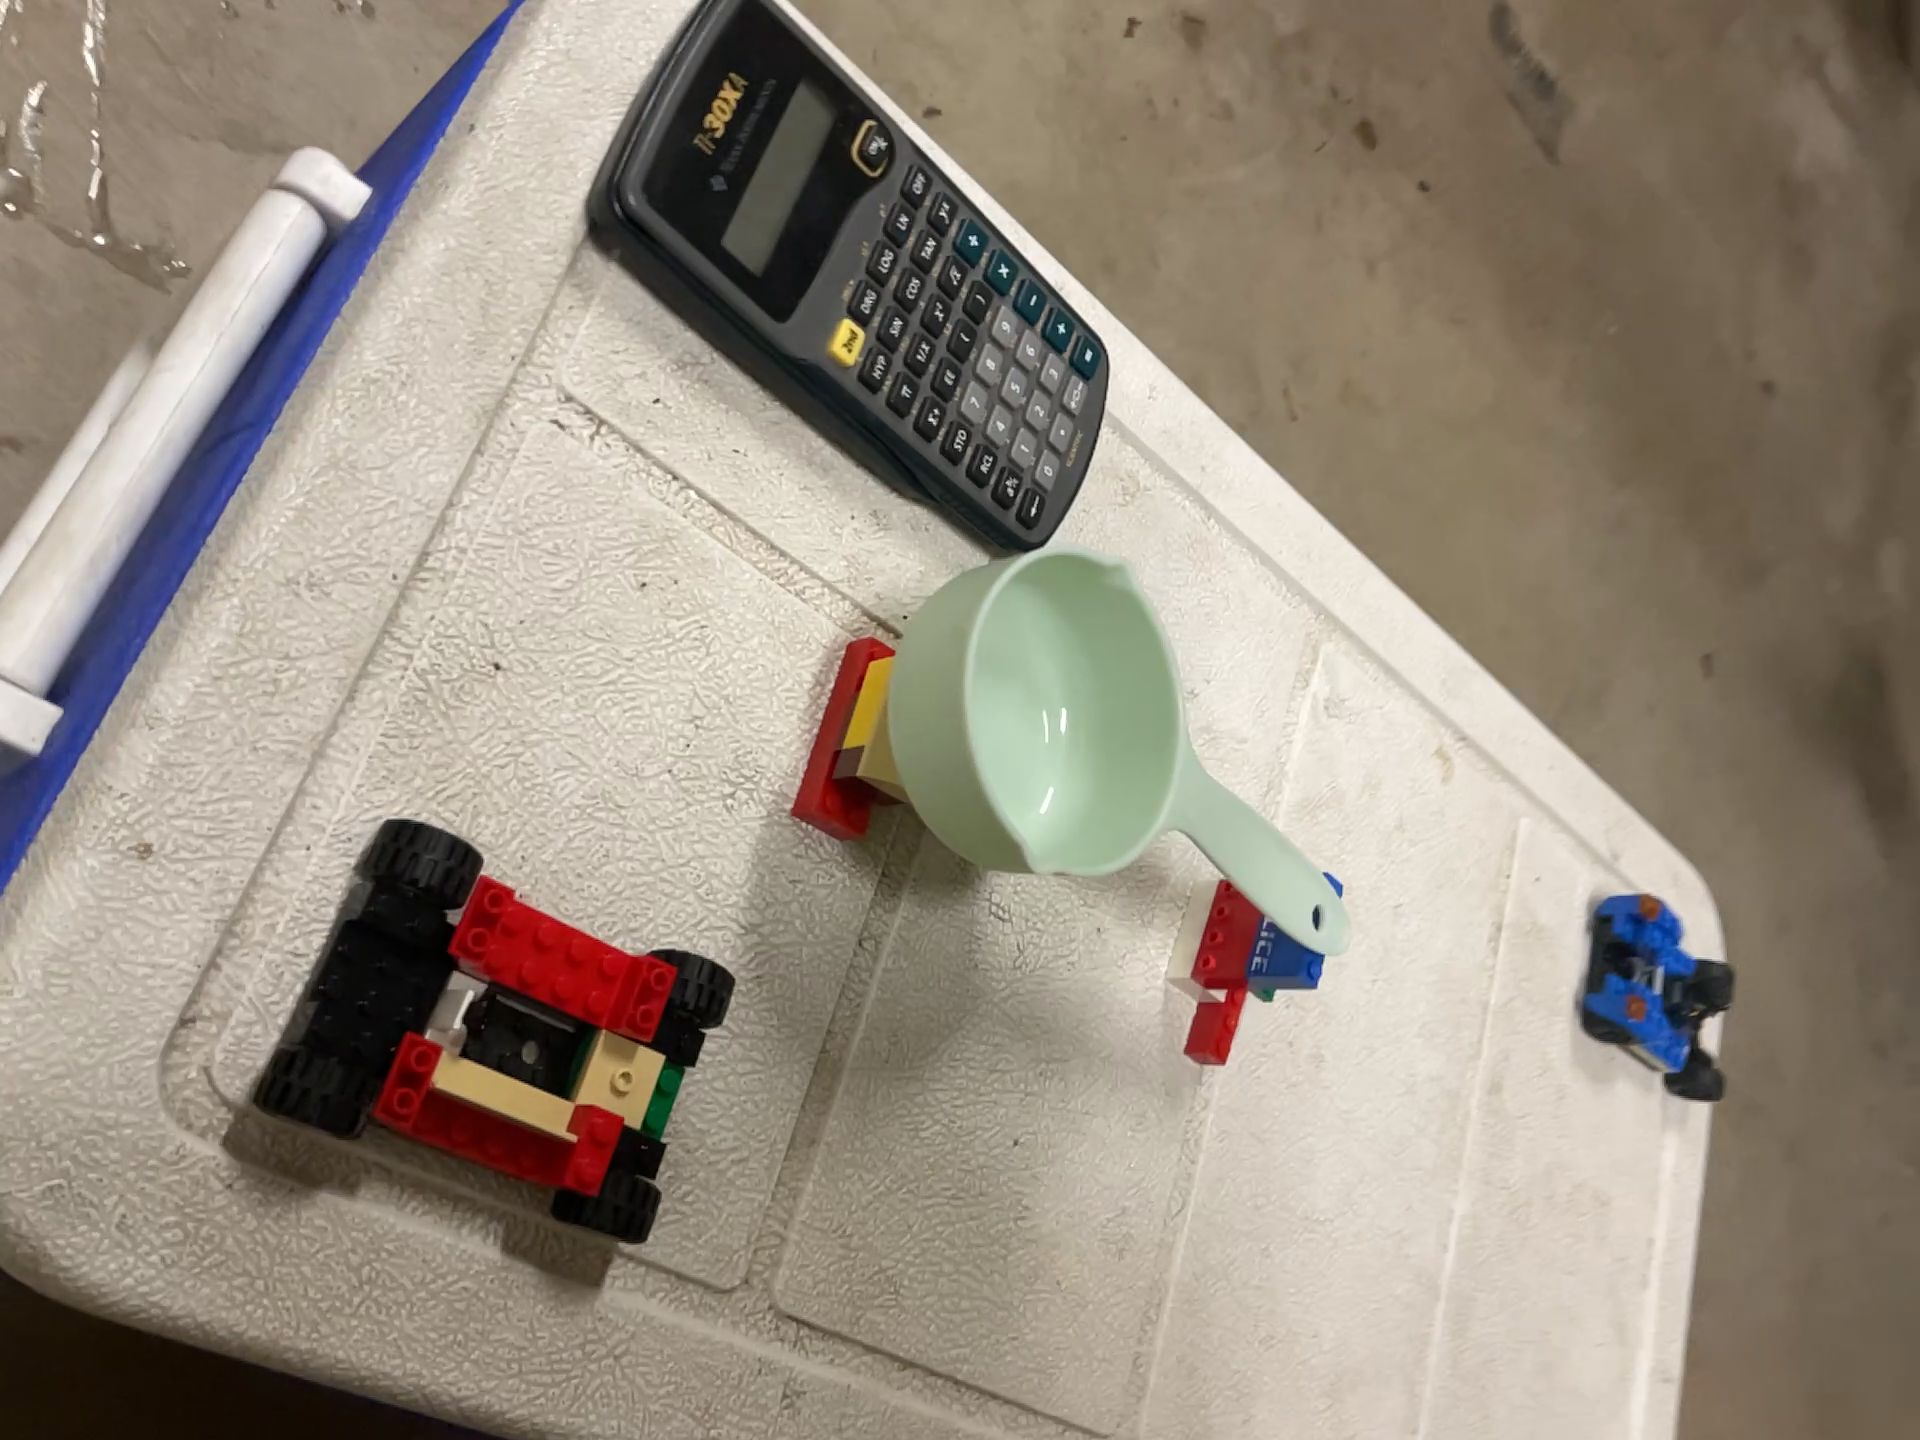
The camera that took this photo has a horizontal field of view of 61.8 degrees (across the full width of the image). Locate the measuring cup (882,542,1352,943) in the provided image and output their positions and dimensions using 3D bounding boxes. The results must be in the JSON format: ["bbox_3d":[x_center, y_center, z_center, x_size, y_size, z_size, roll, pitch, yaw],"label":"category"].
[{"bbox_3d":[0.044,0.020,0.402,0.167,0.038,0.083,36,60,-38],"label":"measuring cup"}]
